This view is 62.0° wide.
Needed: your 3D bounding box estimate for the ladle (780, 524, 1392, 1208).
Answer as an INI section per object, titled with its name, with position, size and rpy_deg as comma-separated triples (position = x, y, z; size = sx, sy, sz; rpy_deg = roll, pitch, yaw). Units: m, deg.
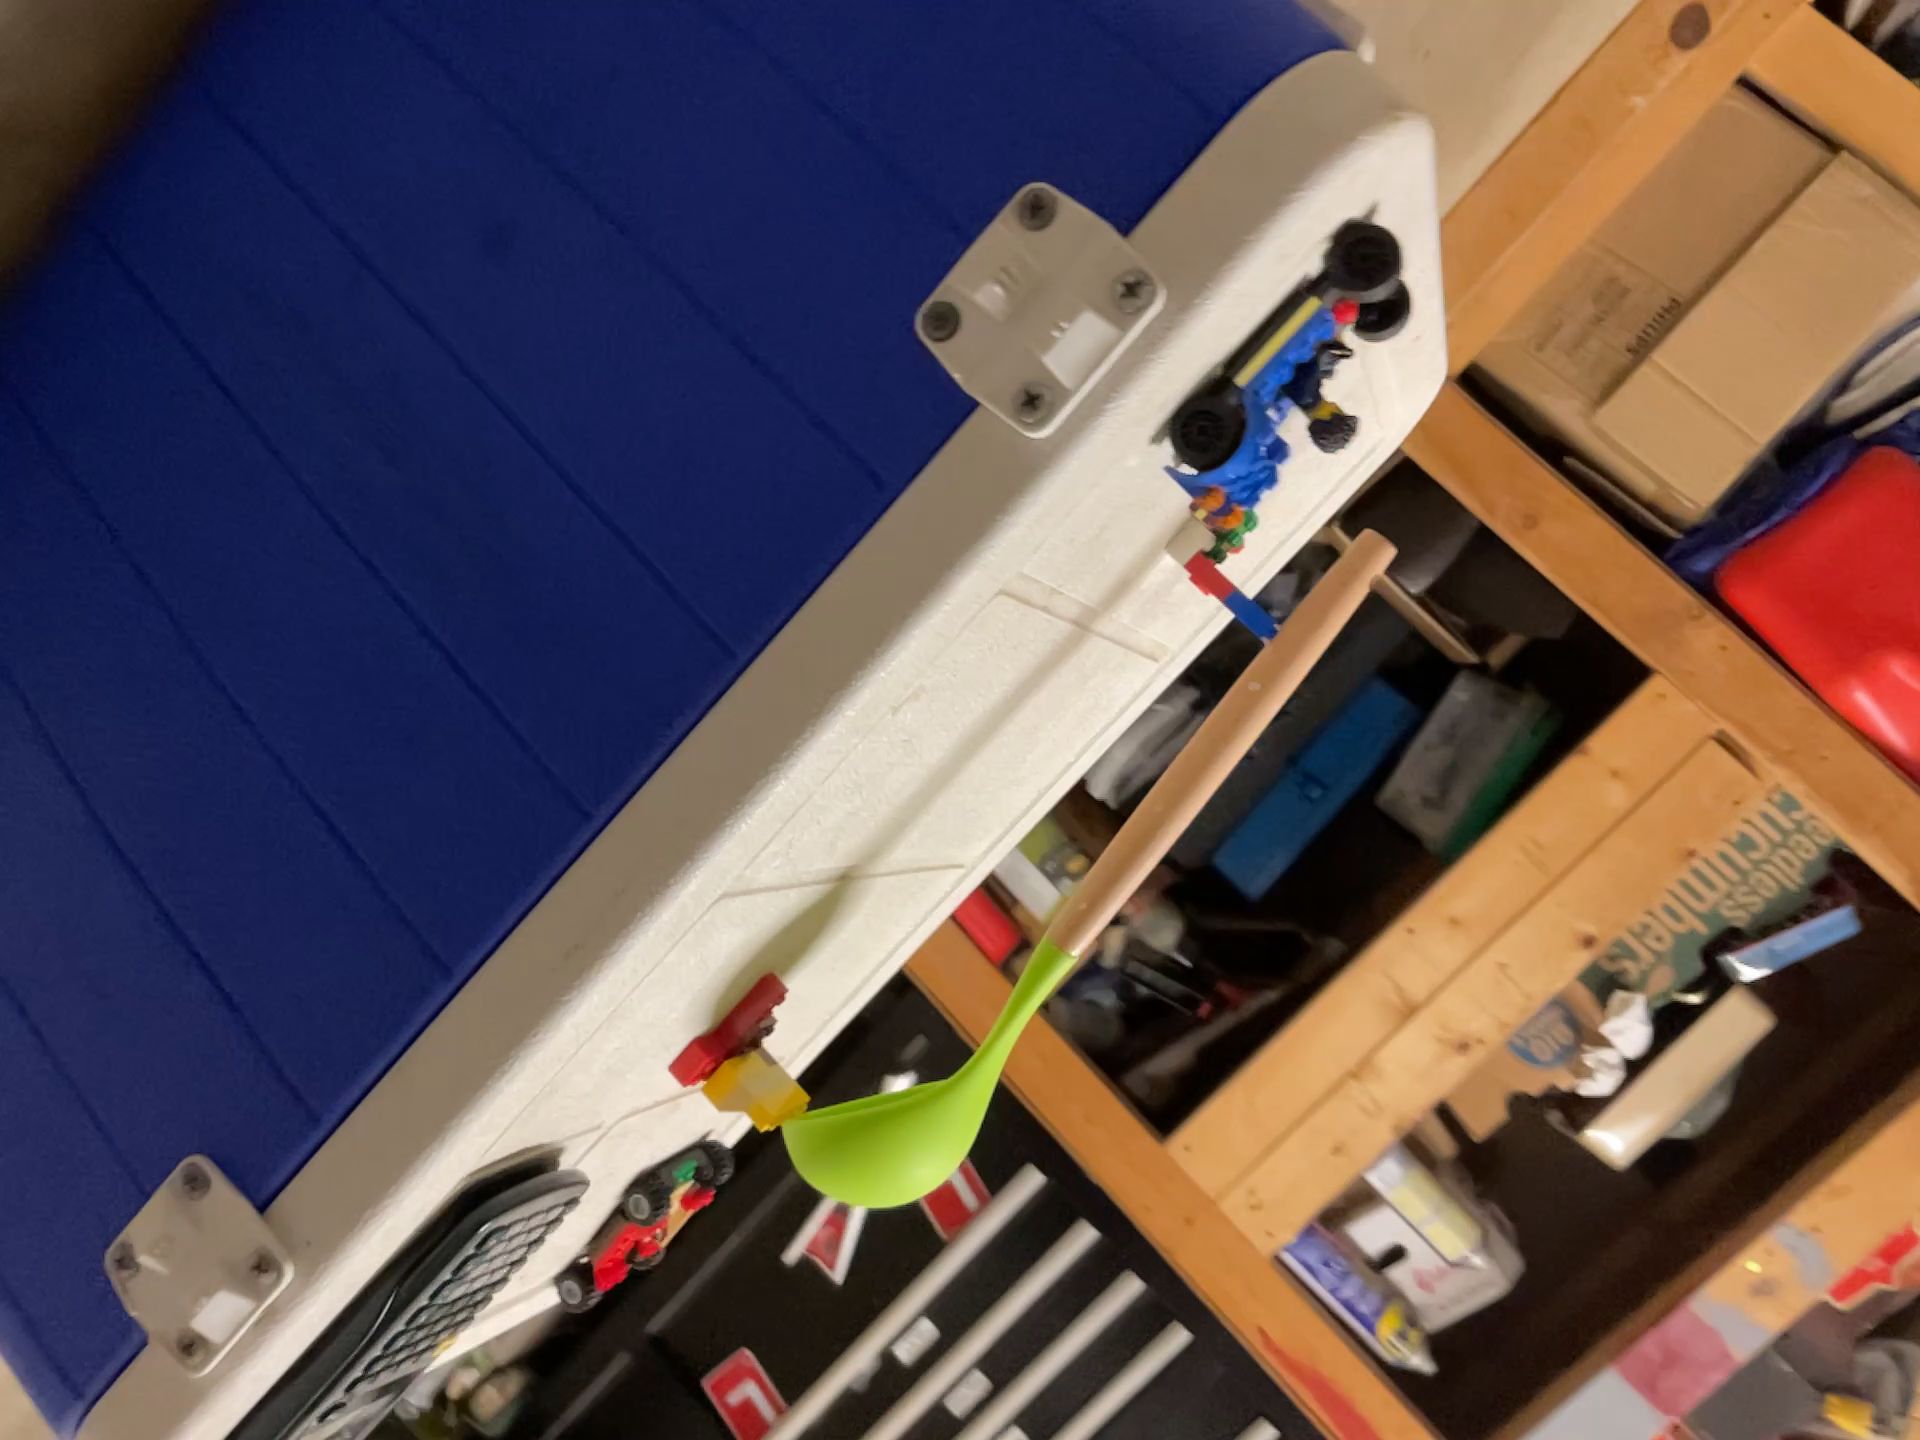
[ladle]
position = 0.044, 0.055, 0.588
size = 0.320, 0.062, 0.078
rpy_deg = -54, 158, 9
